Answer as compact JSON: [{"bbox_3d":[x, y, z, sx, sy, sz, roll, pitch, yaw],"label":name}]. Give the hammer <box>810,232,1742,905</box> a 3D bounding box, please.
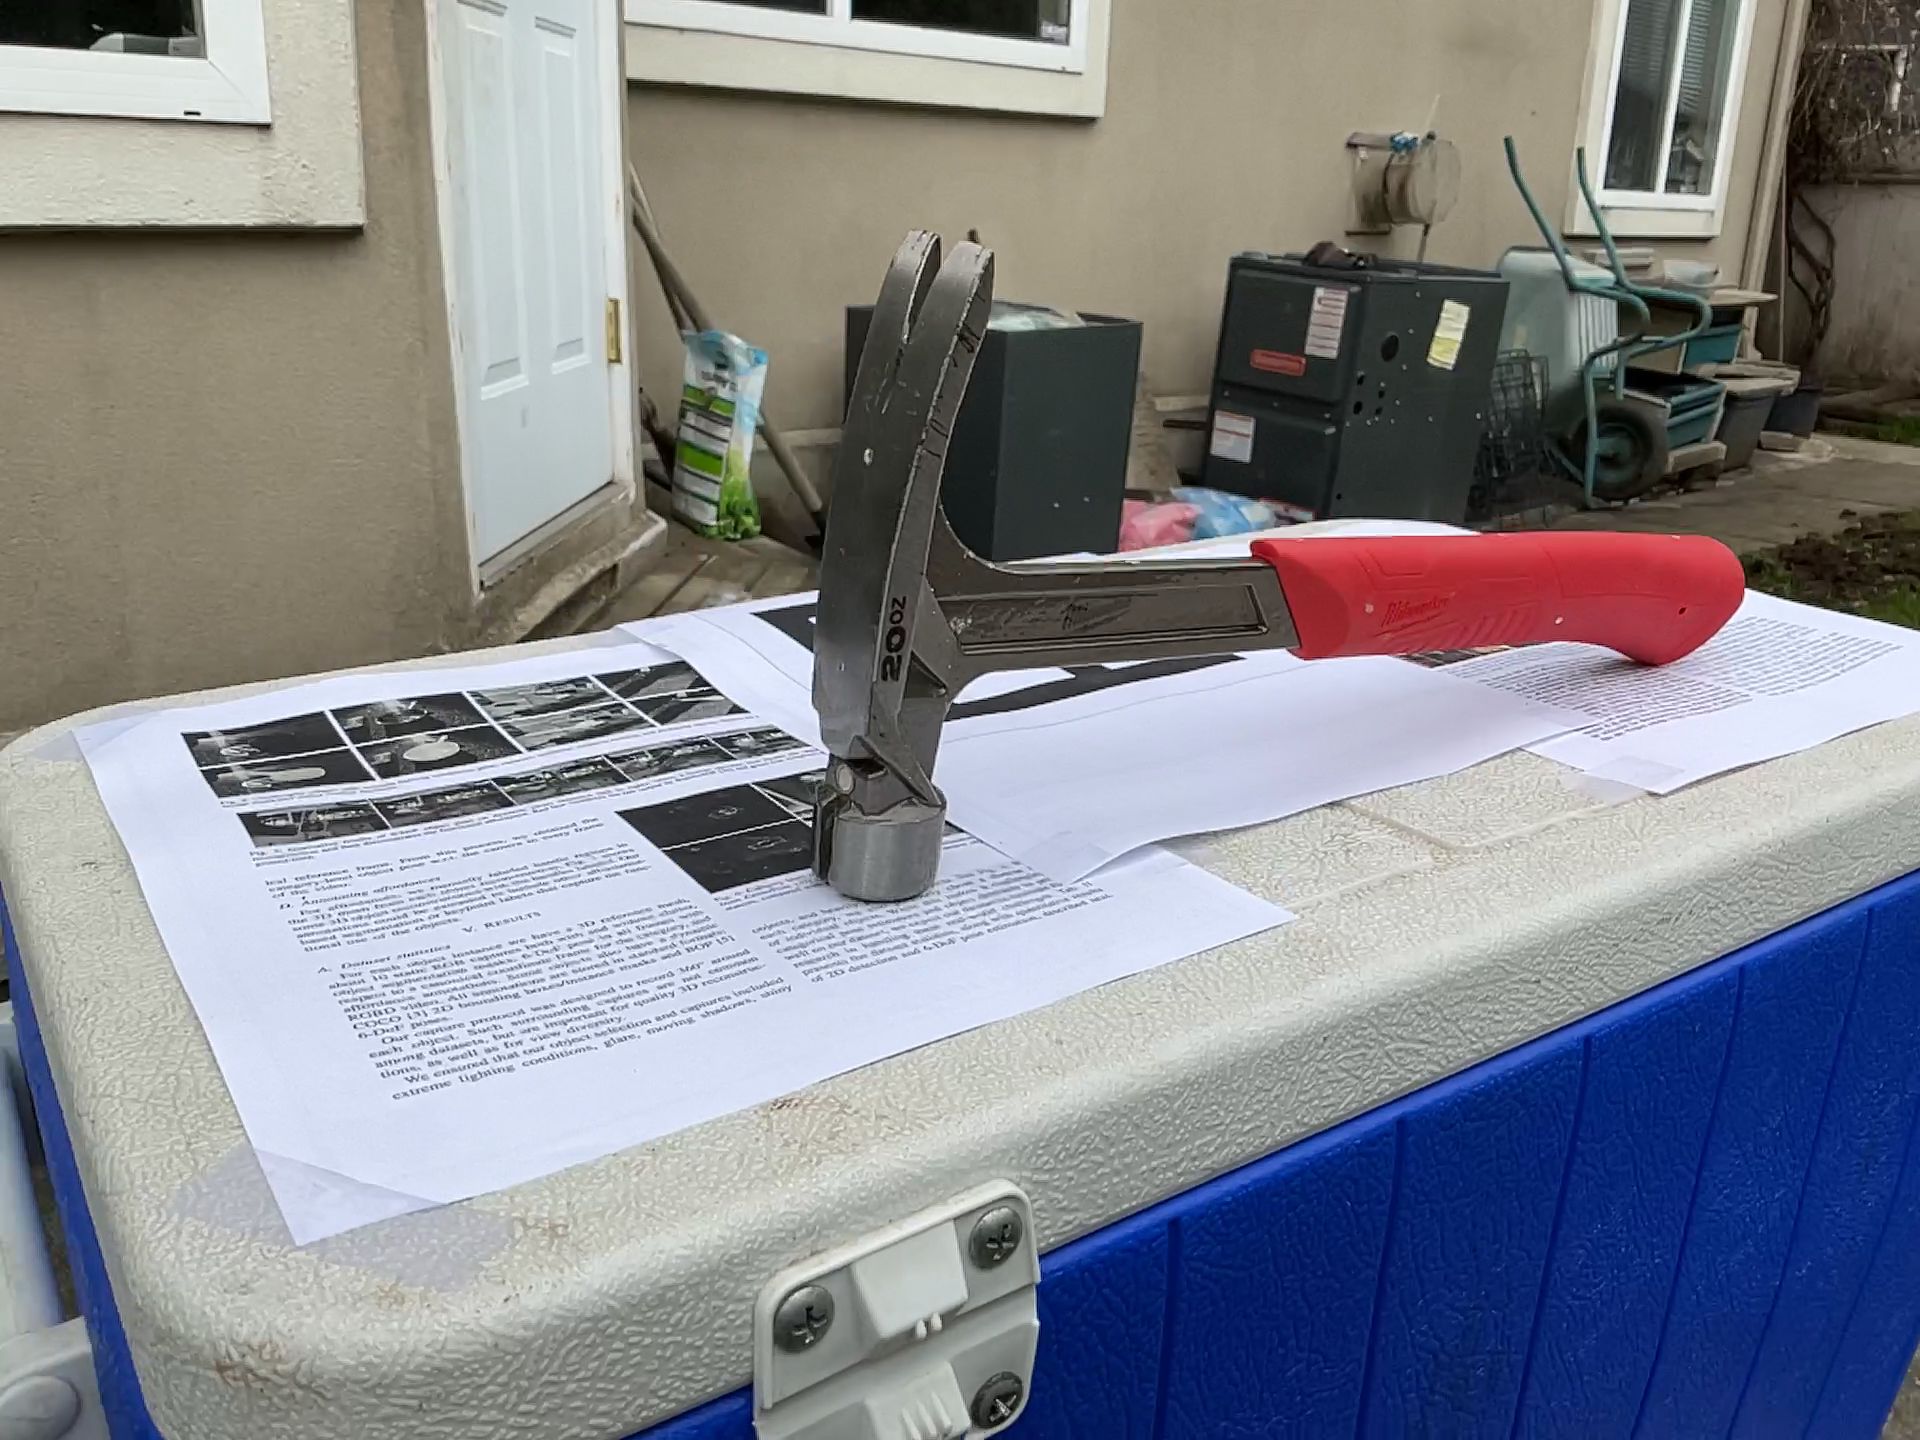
[{"bbox_3d":[0.118,-0.043,0.454,0.359,0.149,0.037,-6,25,-37],"label":"hammer"}]
